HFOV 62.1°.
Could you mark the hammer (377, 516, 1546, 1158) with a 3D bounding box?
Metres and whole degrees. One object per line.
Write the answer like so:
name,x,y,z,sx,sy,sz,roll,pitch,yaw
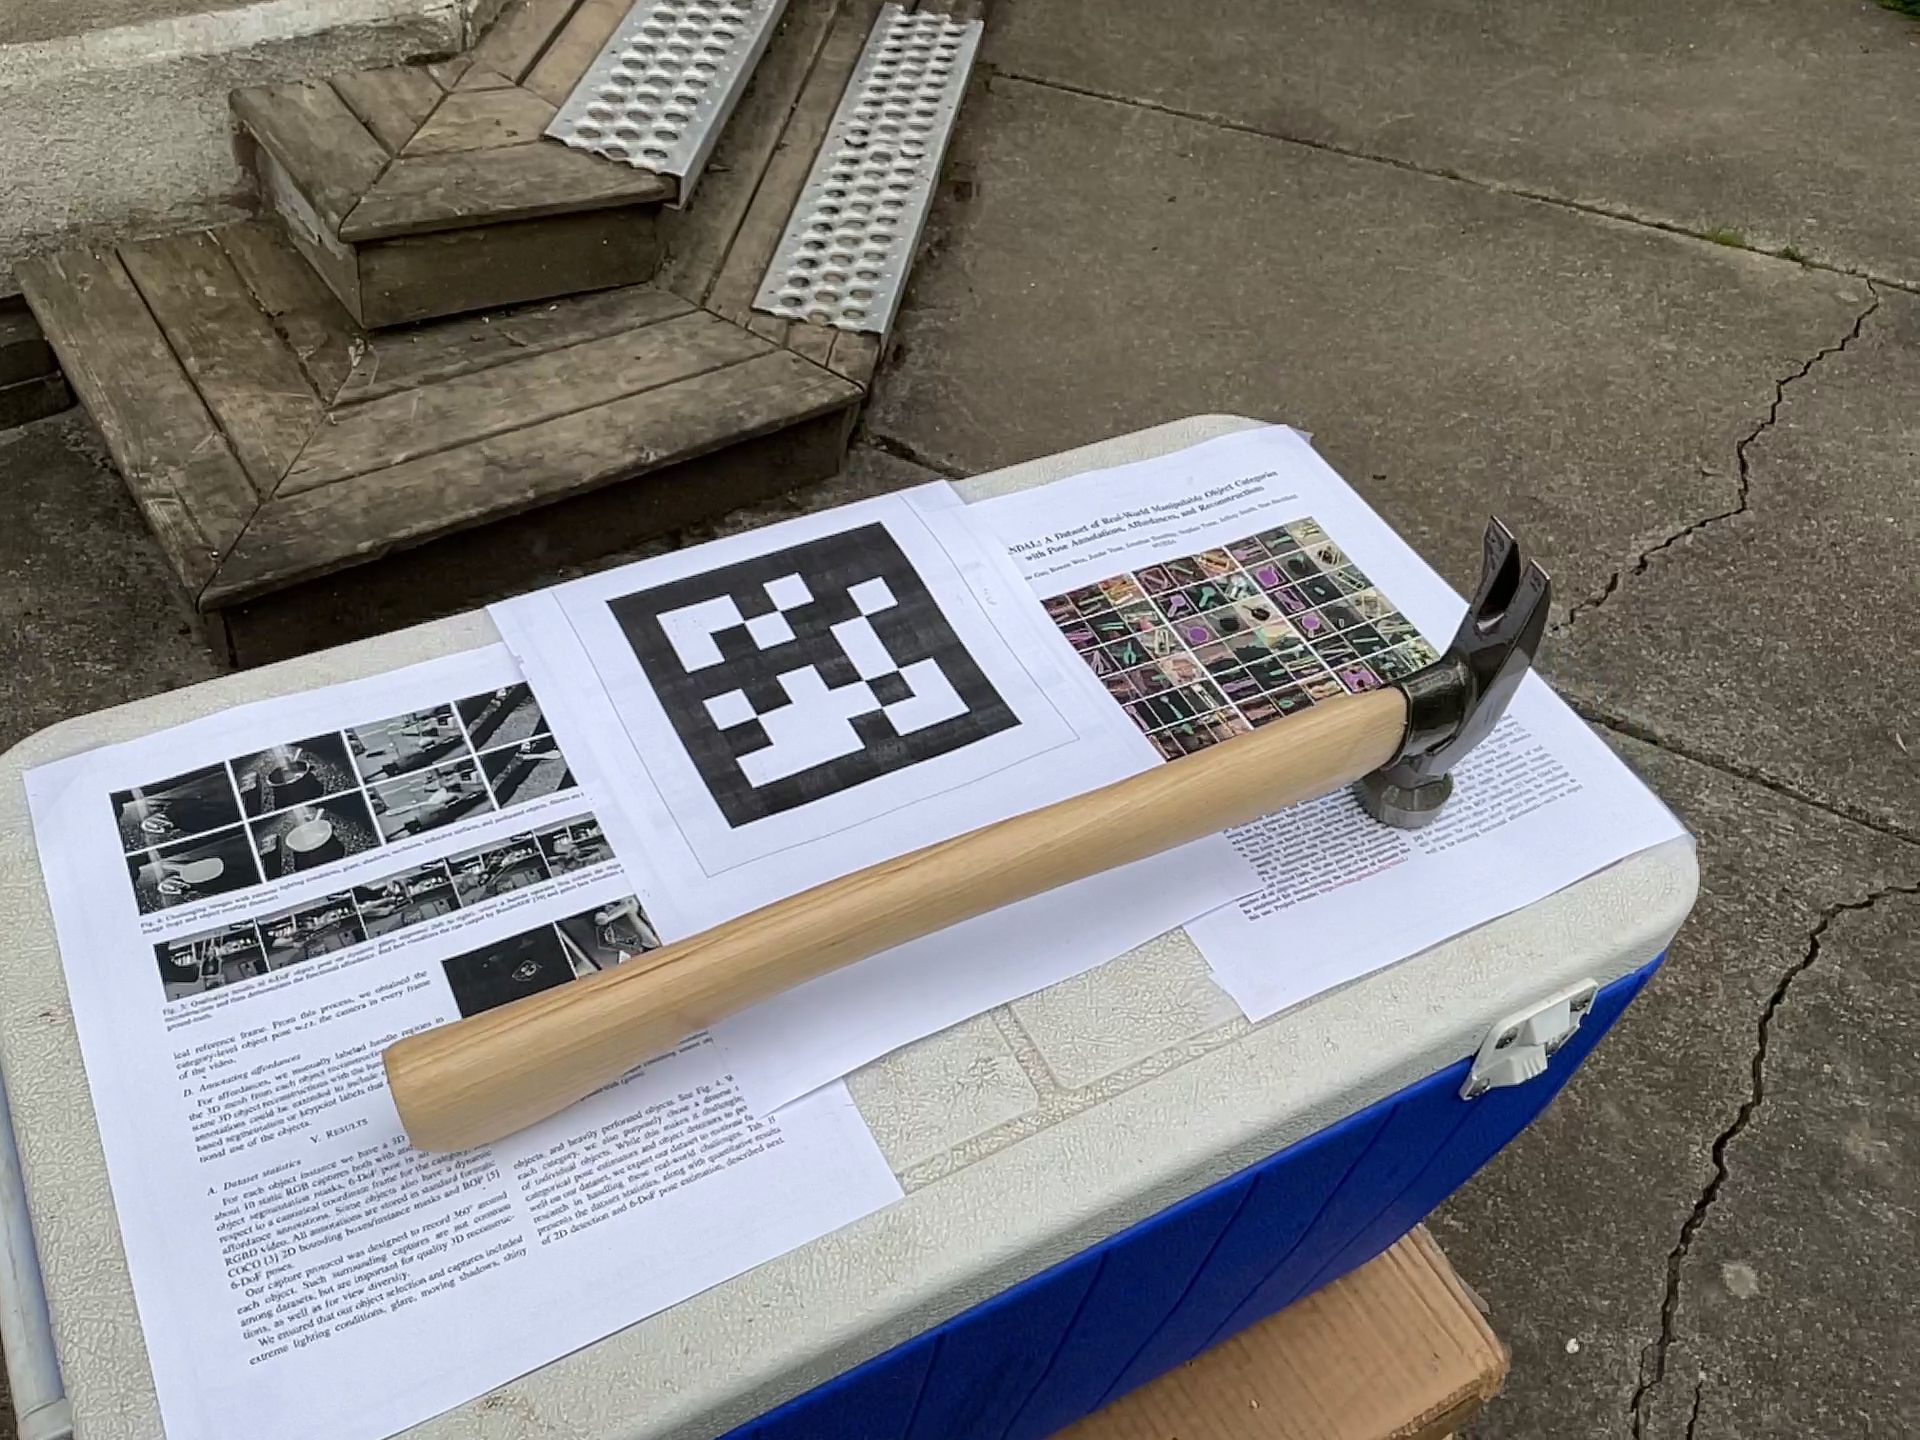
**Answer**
hammer,0.014,0.045,0.536,0.410,0.146,0.038,-19,56,-18
